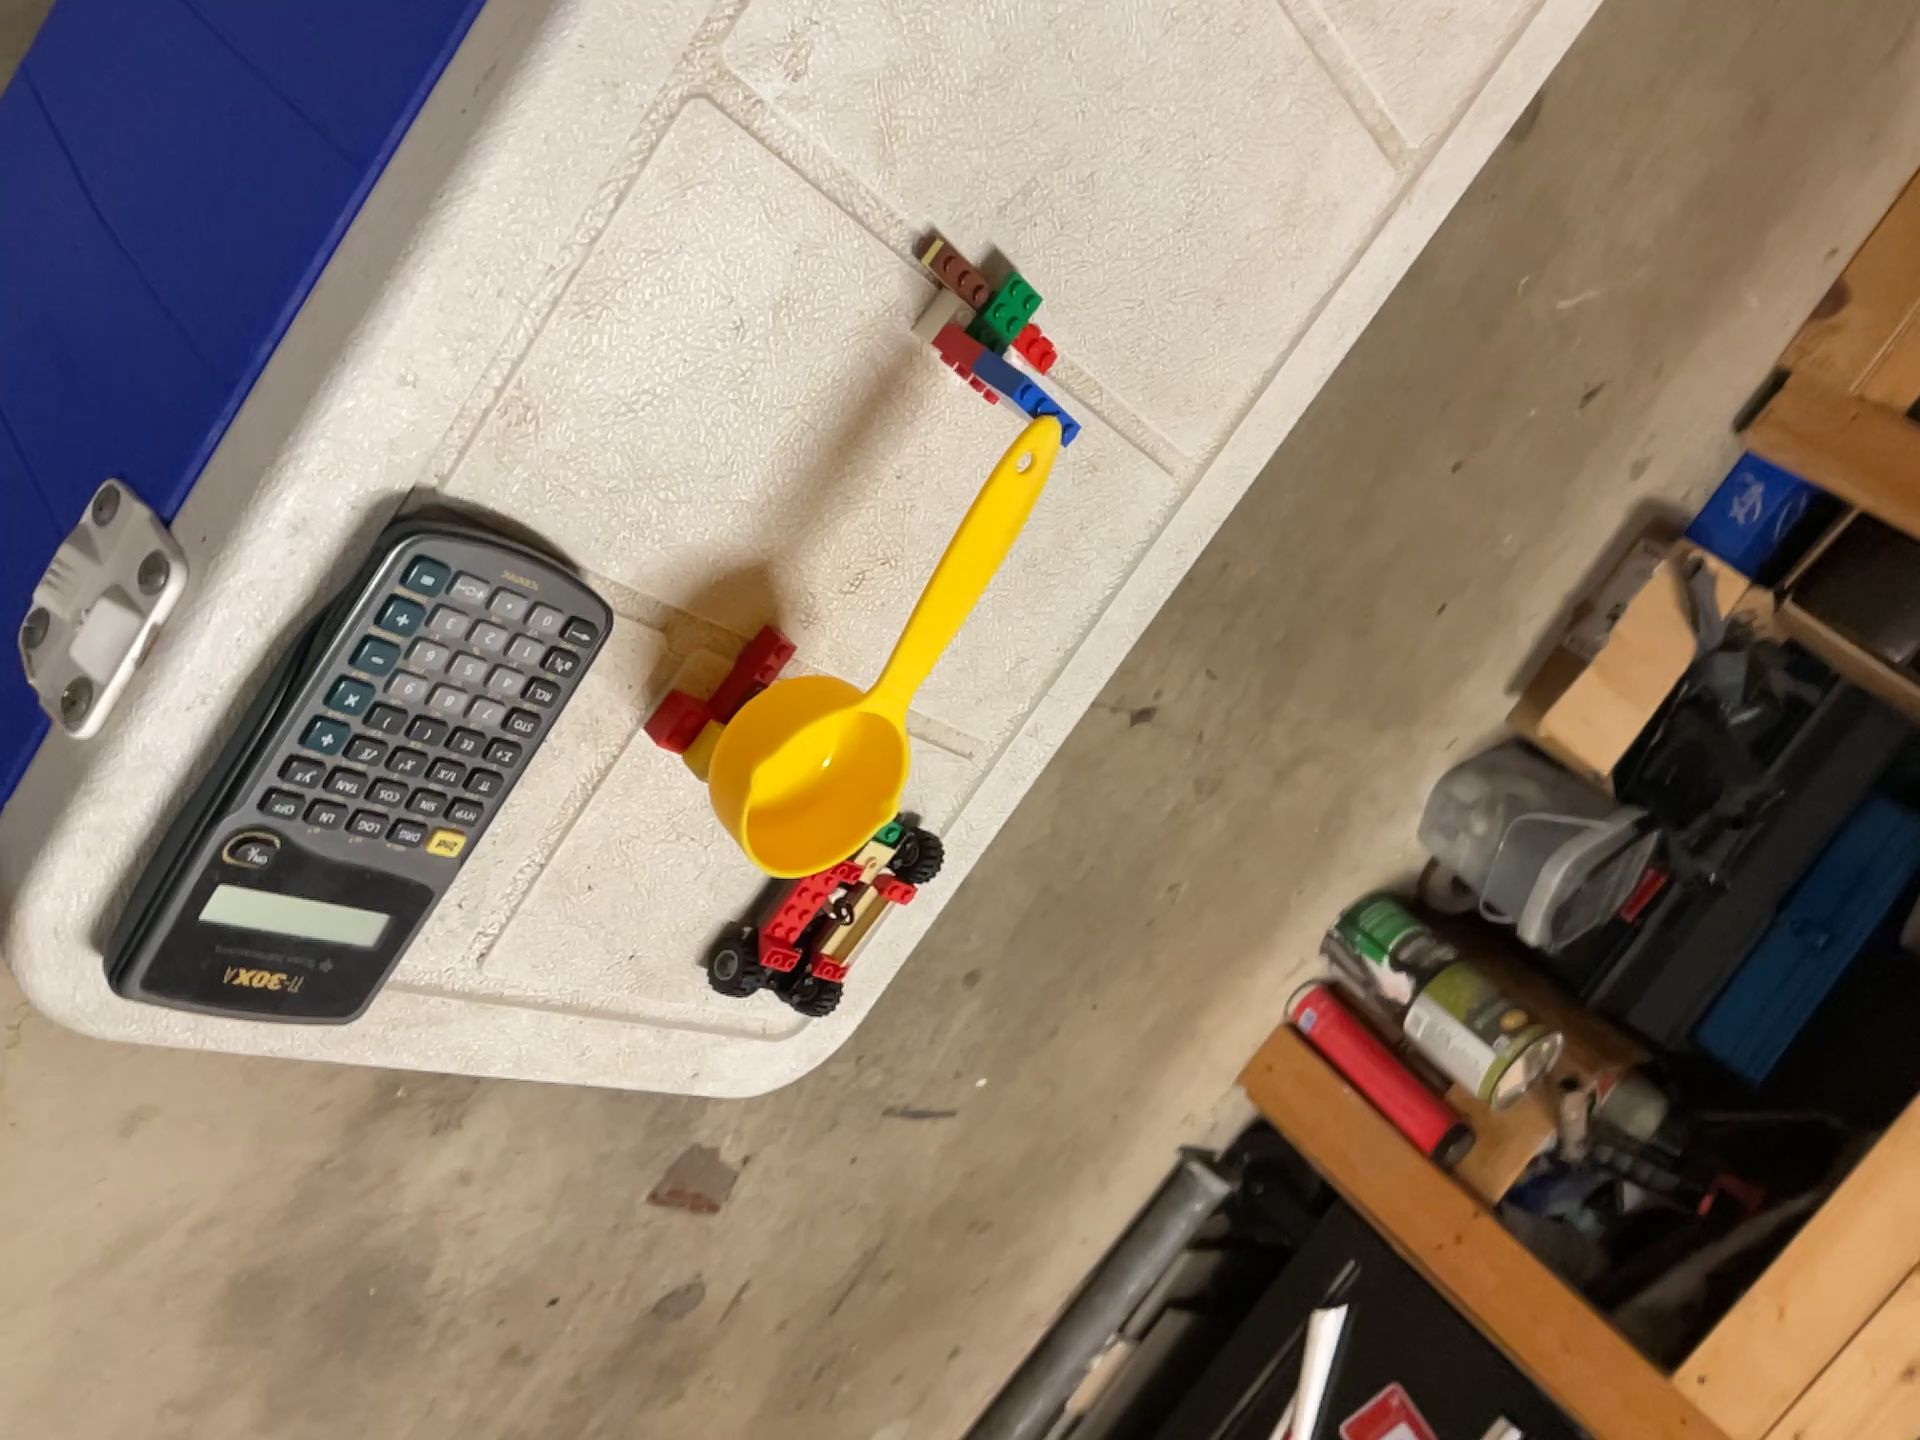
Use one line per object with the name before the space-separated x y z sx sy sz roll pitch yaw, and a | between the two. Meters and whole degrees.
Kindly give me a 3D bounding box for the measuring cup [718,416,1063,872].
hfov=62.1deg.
measuring cup | -0.020 -0.026 0.476 0.062 0.029 0.156 24 101 -52
